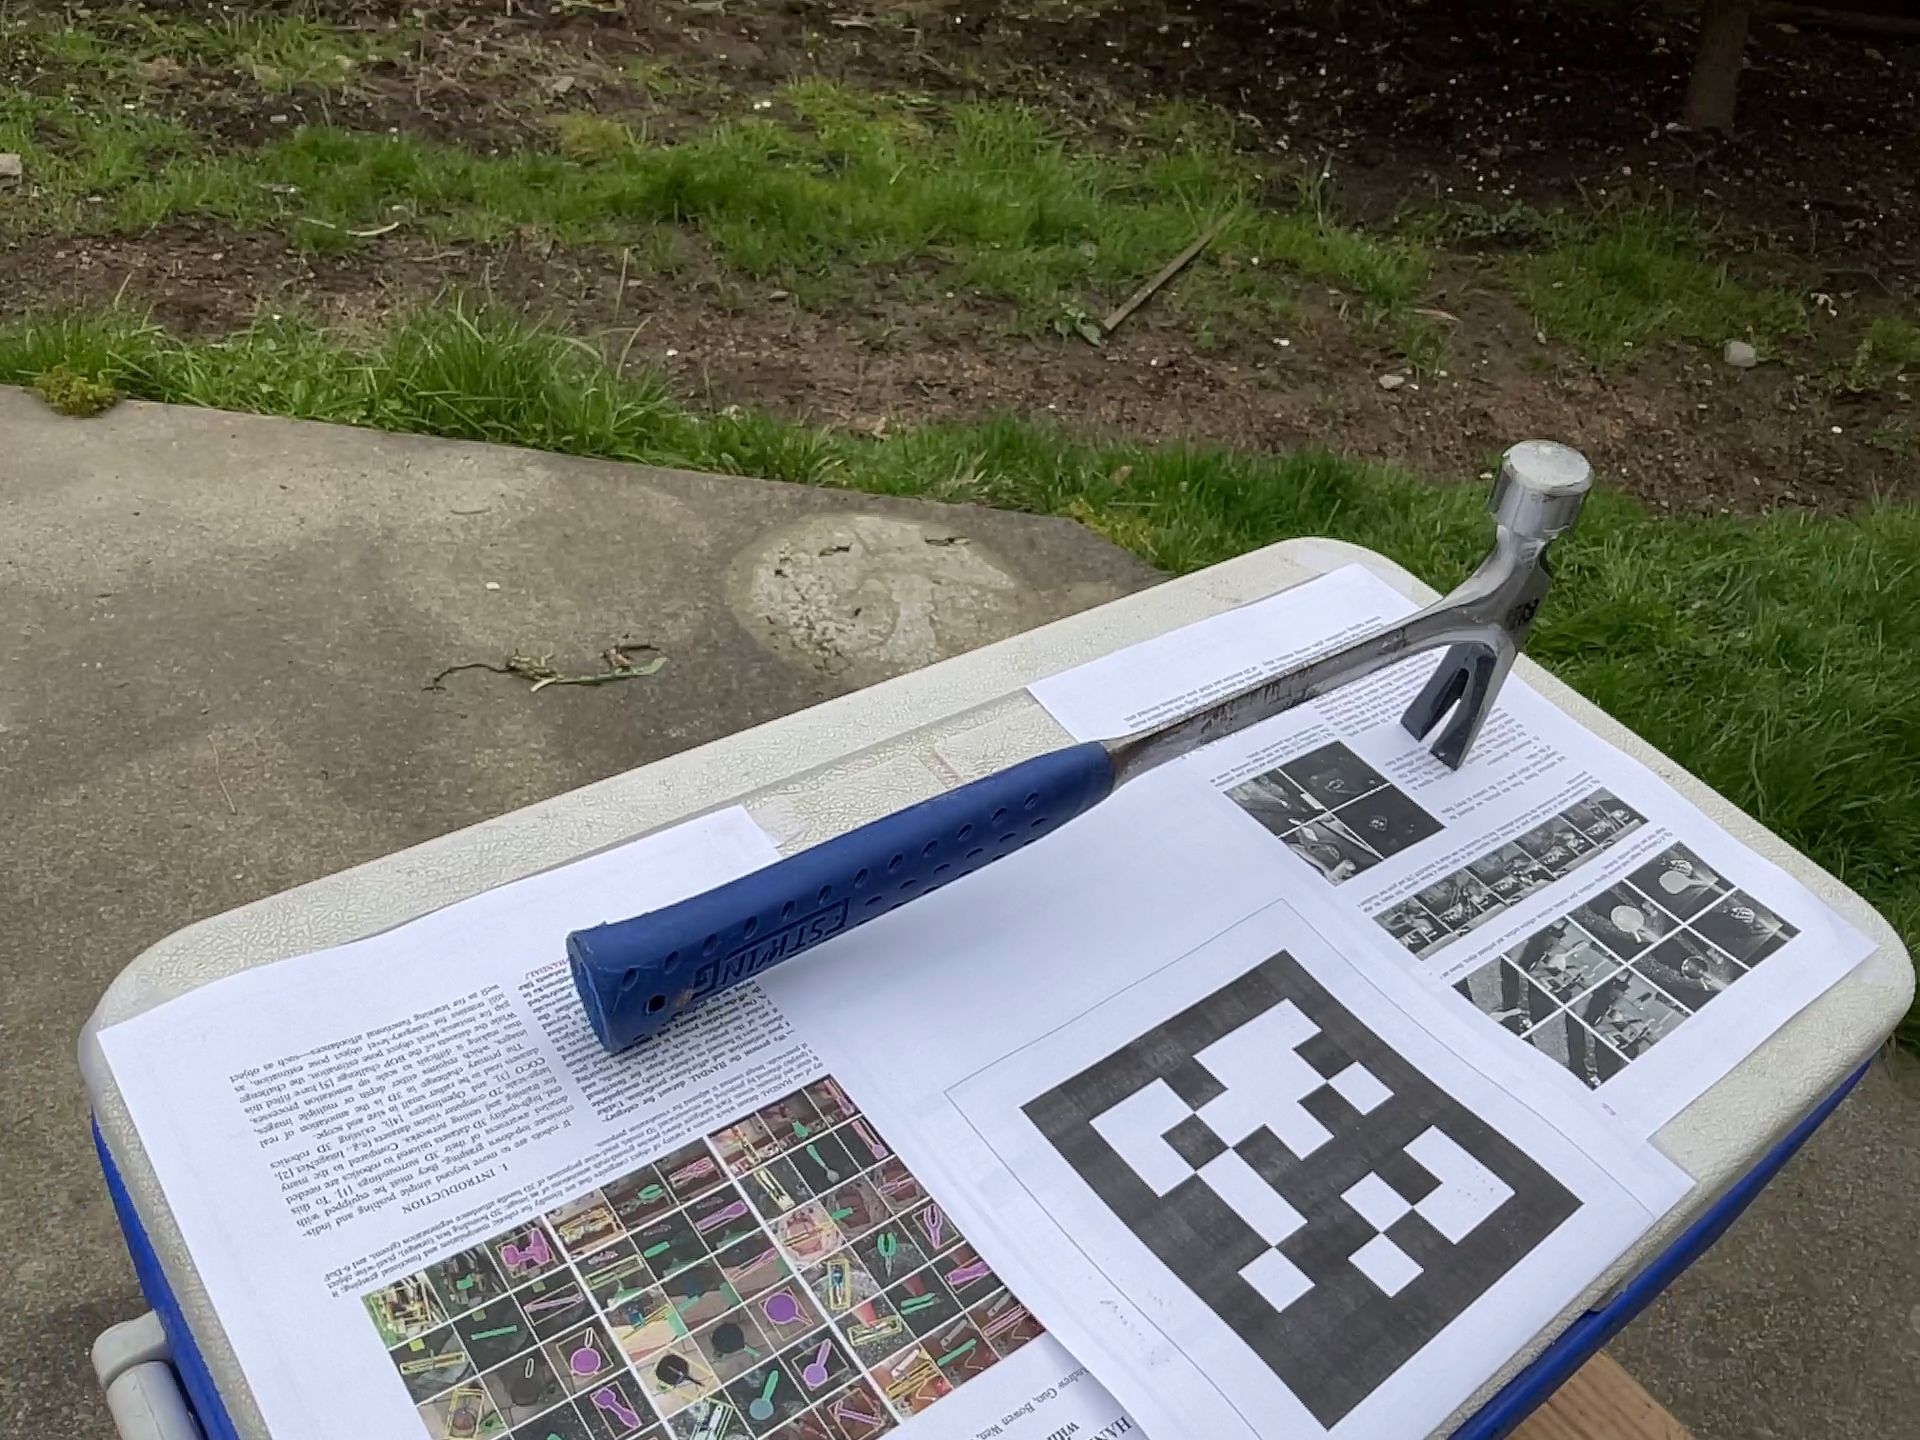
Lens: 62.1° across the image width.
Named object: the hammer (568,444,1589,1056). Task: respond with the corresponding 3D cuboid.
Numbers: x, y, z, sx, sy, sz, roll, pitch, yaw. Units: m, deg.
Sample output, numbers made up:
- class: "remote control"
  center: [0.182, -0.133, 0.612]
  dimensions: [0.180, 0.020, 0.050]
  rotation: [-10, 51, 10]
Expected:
- class: "hammer"
  center: [0.059, 0.020, 0.571]
  dimensions: [0.405, 0.144, 0.035]
  rotation: [-22, 49, -24]
